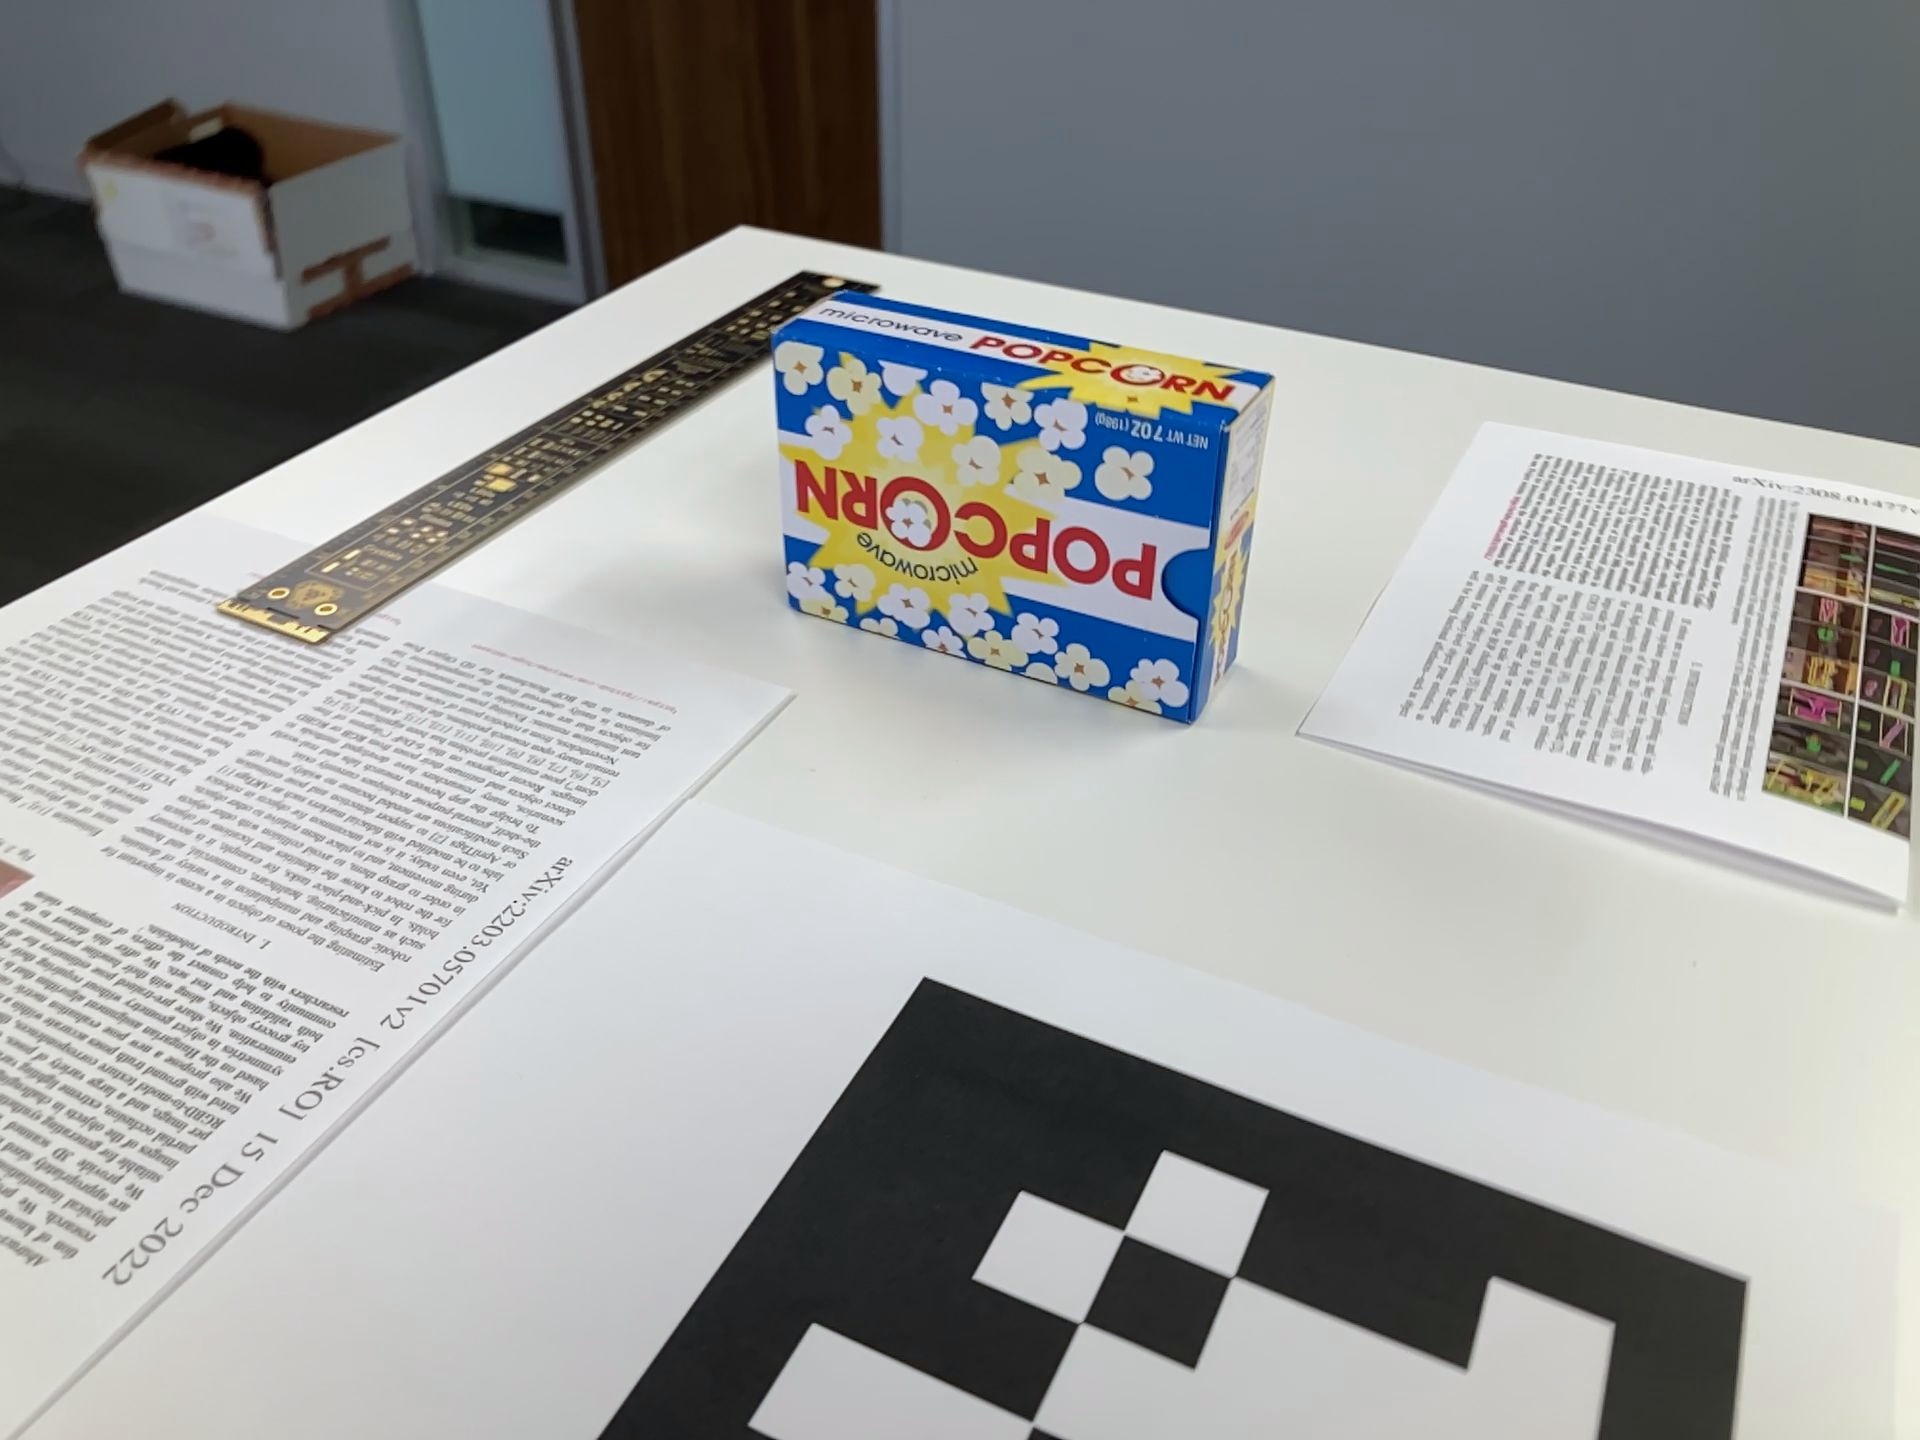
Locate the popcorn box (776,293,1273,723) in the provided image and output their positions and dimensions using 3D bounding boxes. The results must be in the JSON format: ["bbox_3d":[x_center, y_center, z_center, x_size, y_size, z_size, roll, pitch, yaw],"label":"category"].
[{"bbox_3d":[0.014,-0.059,0.425,0.126,0.085,0.038,17,37,21],"label":"popcorn box"}]
